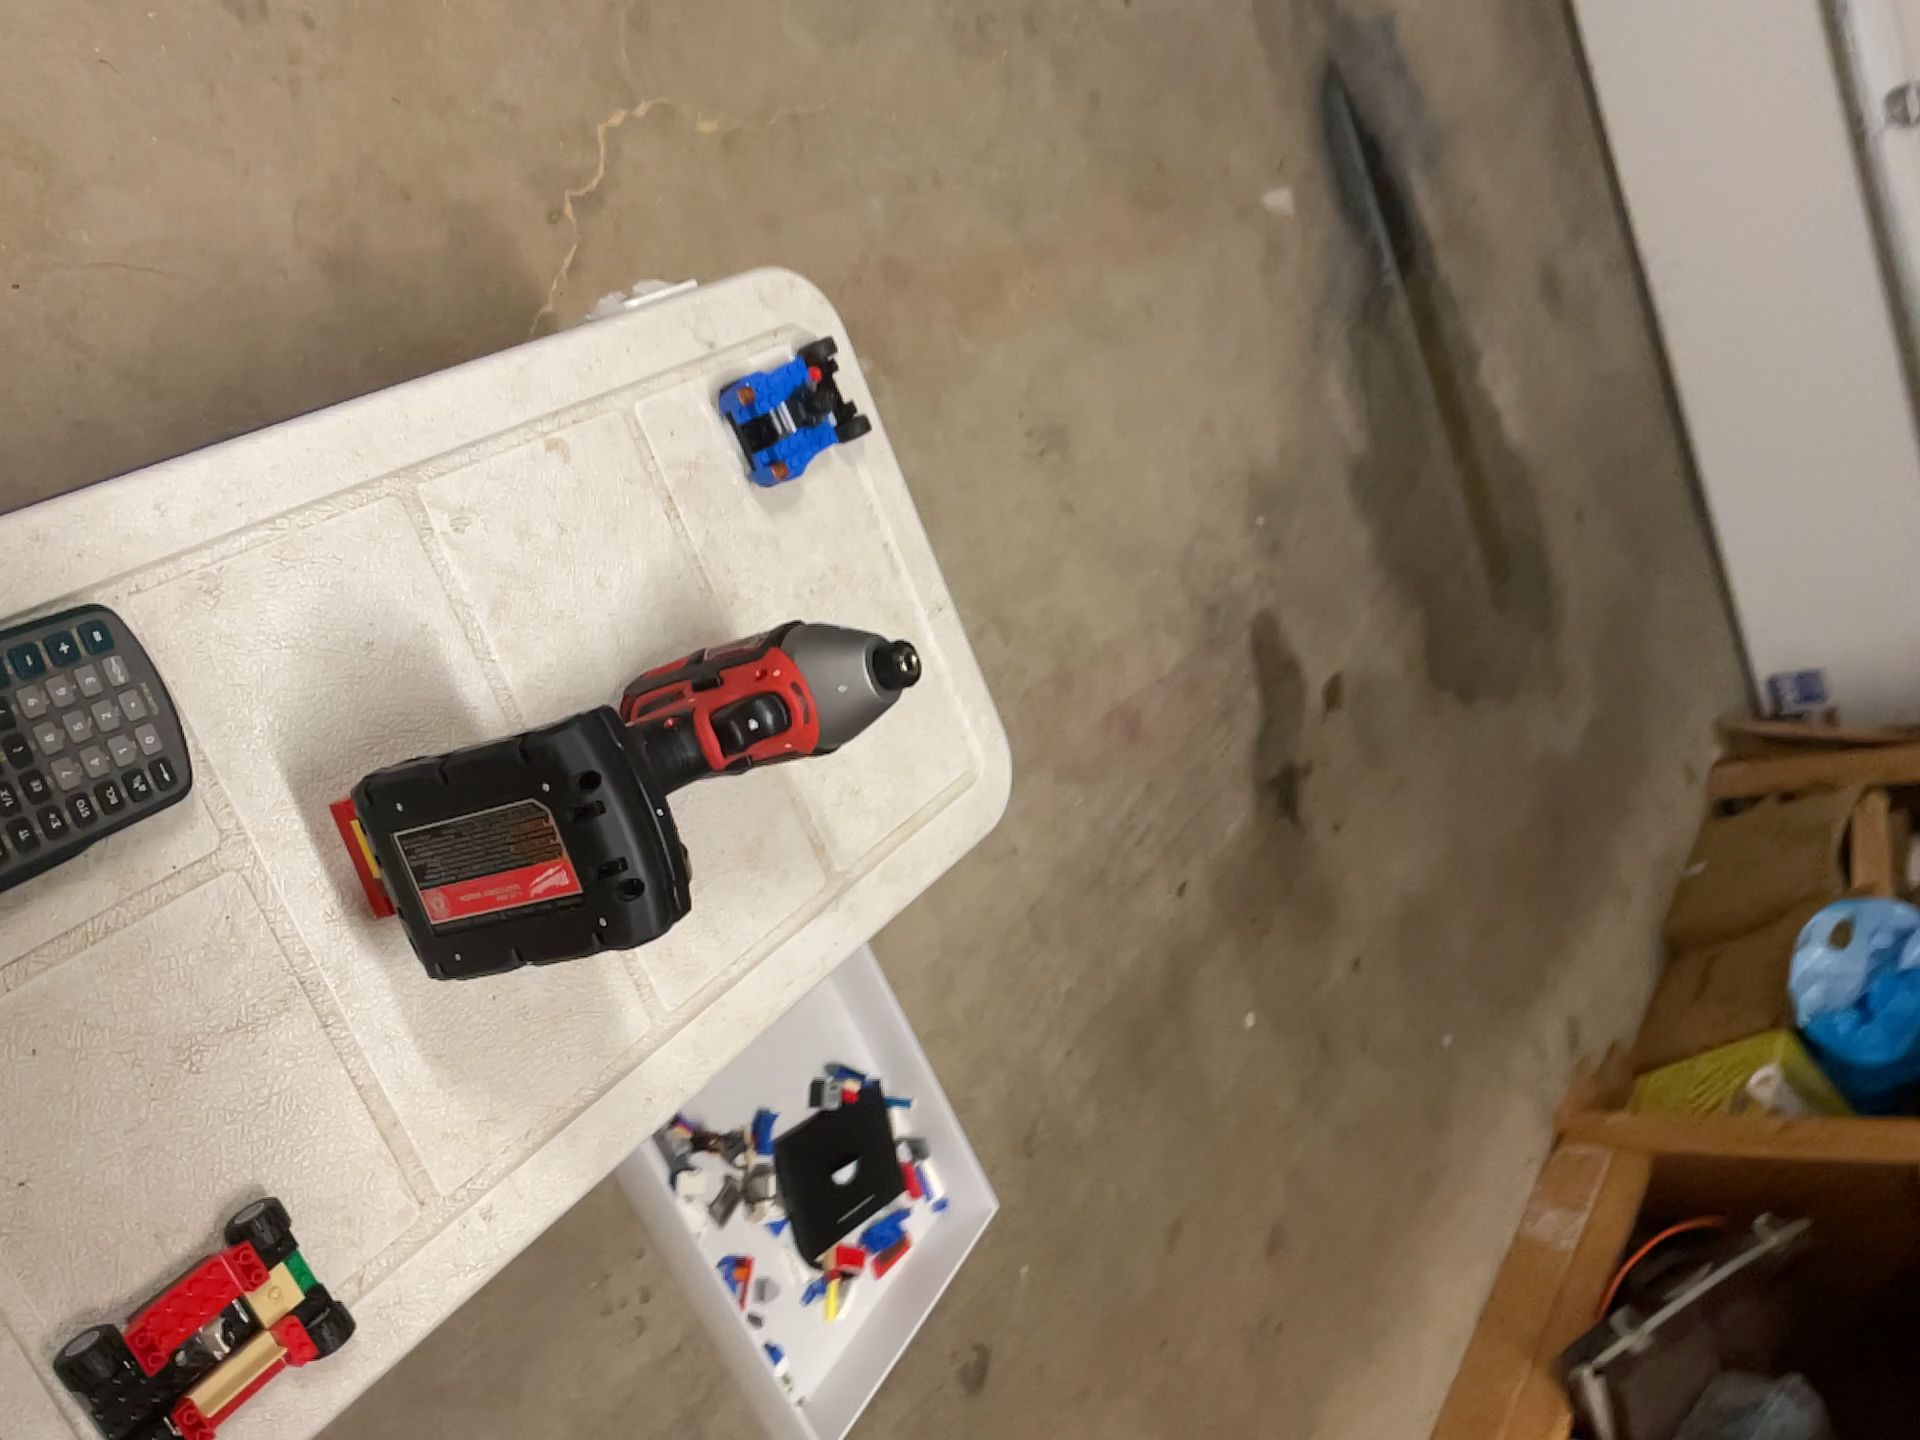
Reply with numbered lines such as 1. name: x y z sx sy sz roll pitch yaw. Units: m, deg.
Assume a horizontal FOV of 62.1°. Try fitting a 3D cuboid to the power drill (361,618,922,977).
1. power drill: -0.112 0.014 0.636 0.220 0.143 0.078 -39 112 -61
